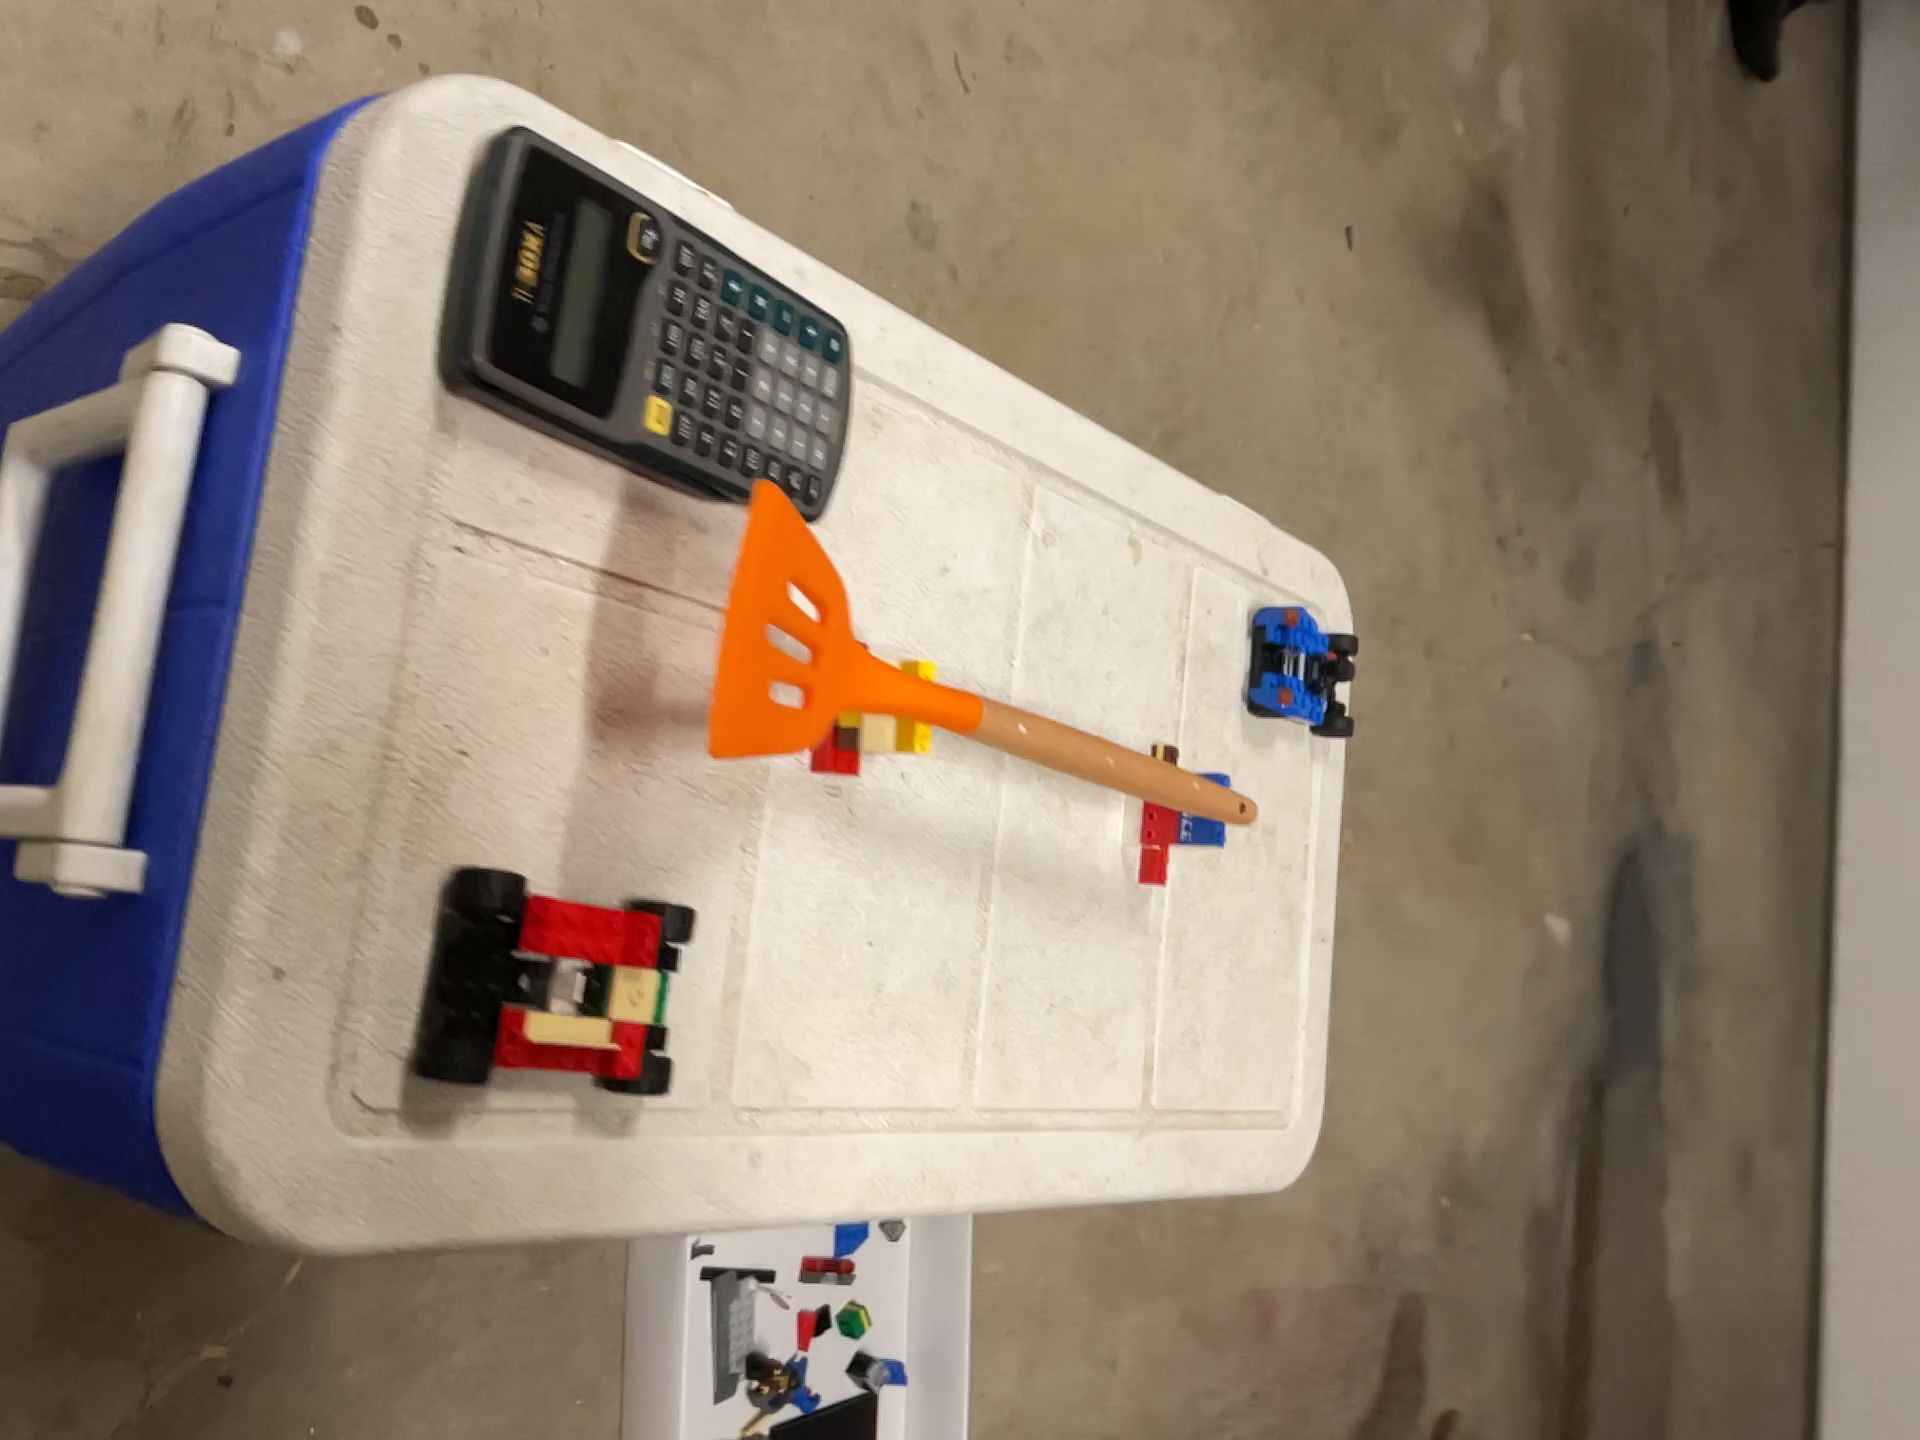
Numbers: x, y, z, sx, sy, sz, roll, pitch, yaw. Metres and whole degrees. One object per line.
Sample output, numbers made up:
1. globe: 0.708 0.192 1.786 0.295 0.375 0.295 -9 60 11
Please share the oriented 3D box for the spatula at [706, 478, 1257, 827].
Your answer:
1. spatula: 0.025 0.005 0.564 0.322 0.041 0.081 19 77 -47
